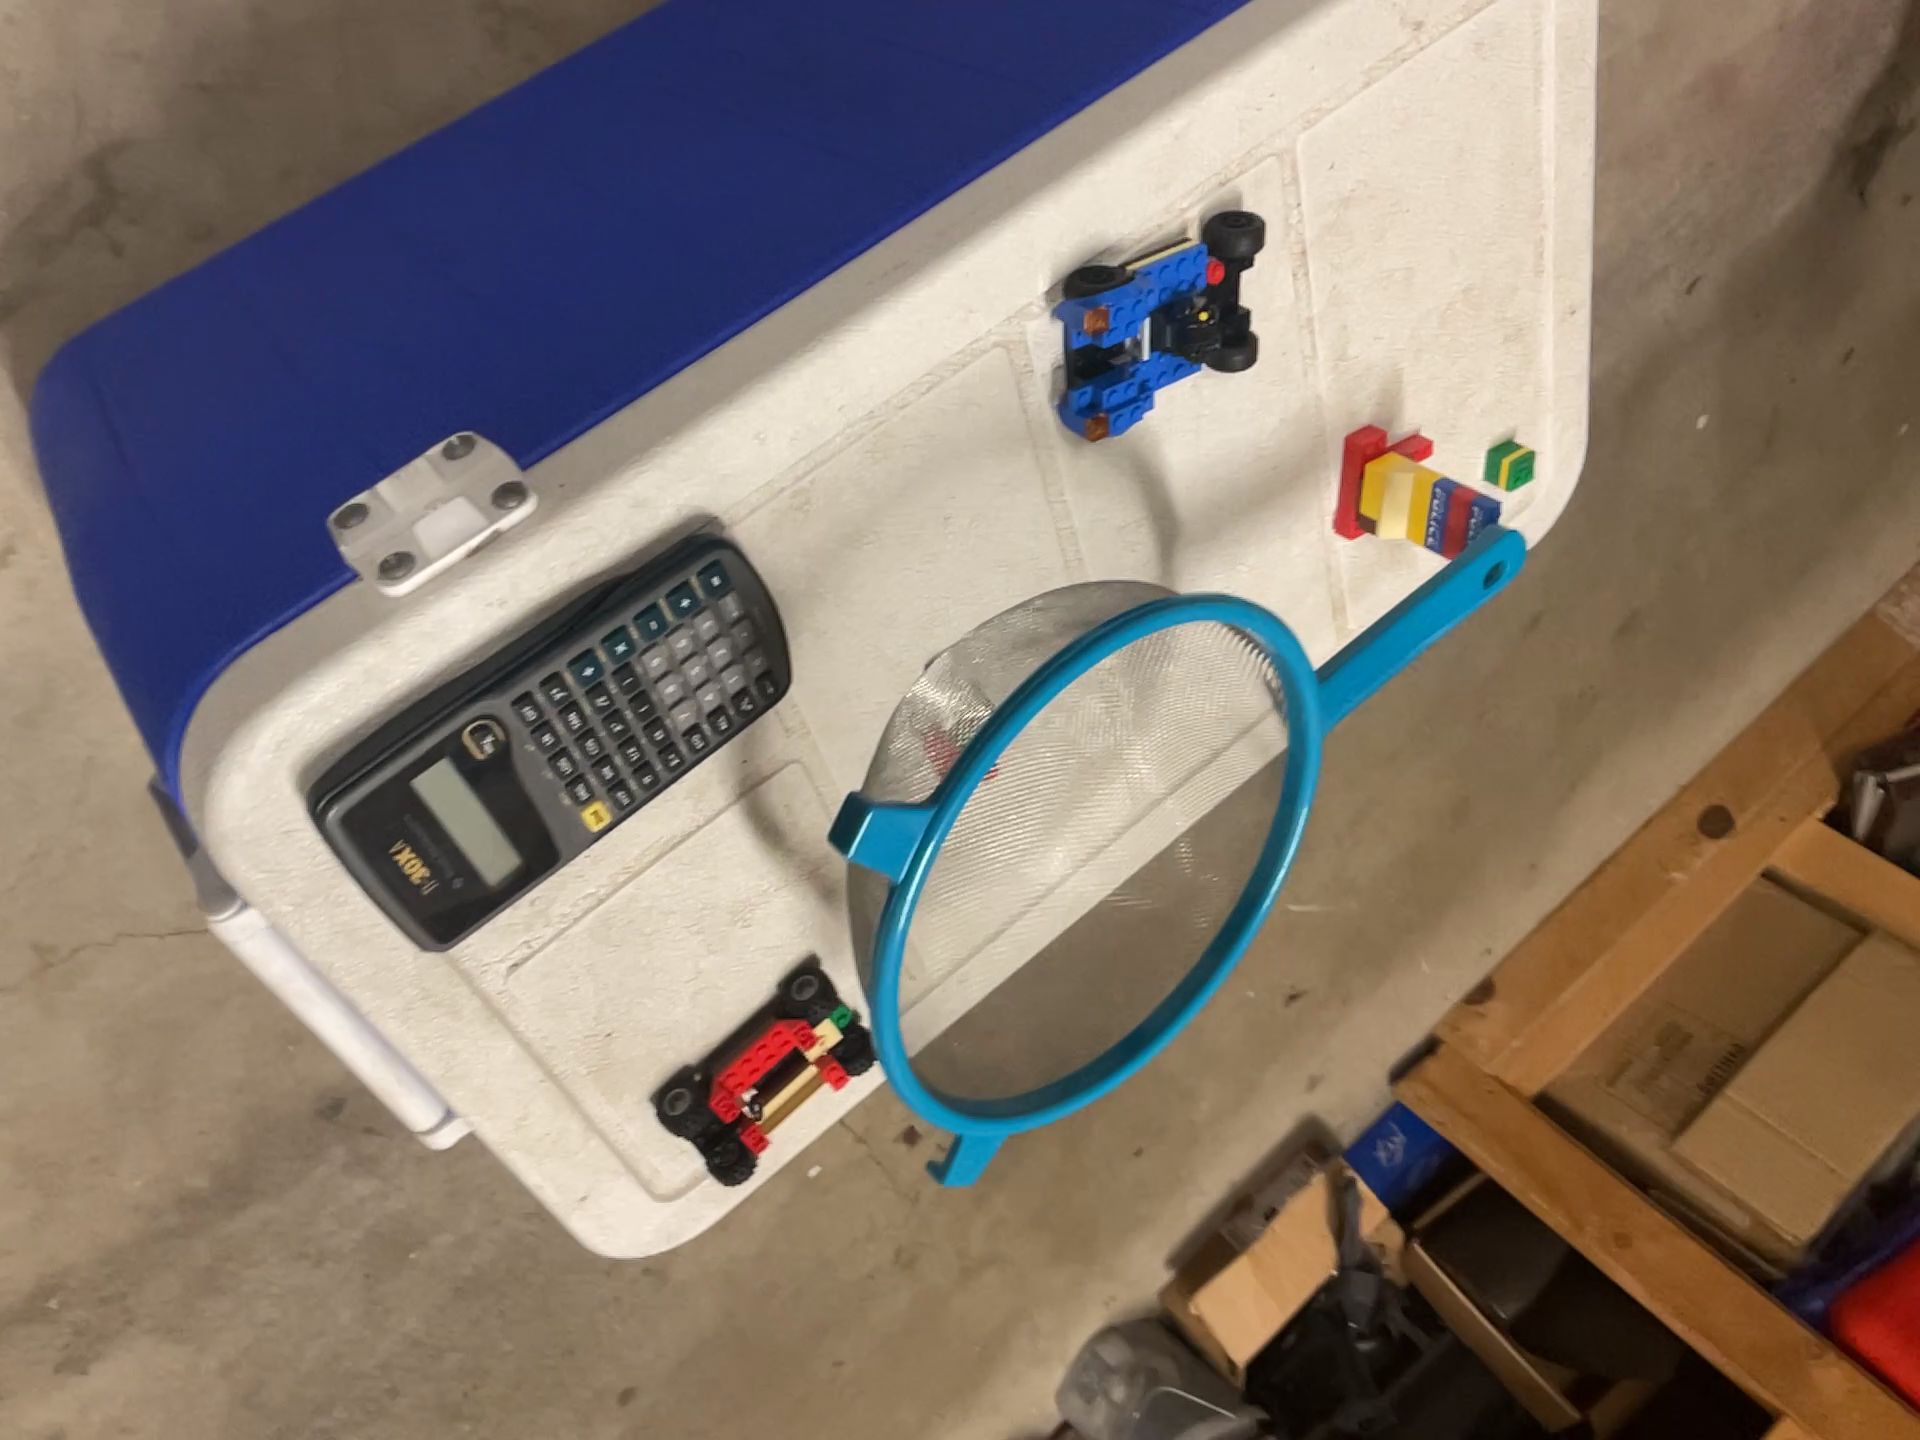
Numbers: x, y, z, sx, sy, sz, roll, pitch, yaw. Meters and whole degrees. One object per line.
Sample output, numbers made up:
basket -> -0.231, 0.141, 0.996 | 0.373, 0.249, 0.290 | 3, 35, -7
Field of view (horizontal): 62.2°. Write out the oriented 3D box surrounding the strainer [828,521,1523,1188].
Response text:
strainer -> 0.076, 0.002, 0.601 | 0.340, 0.095, 0.210 | -36, 136, -25
